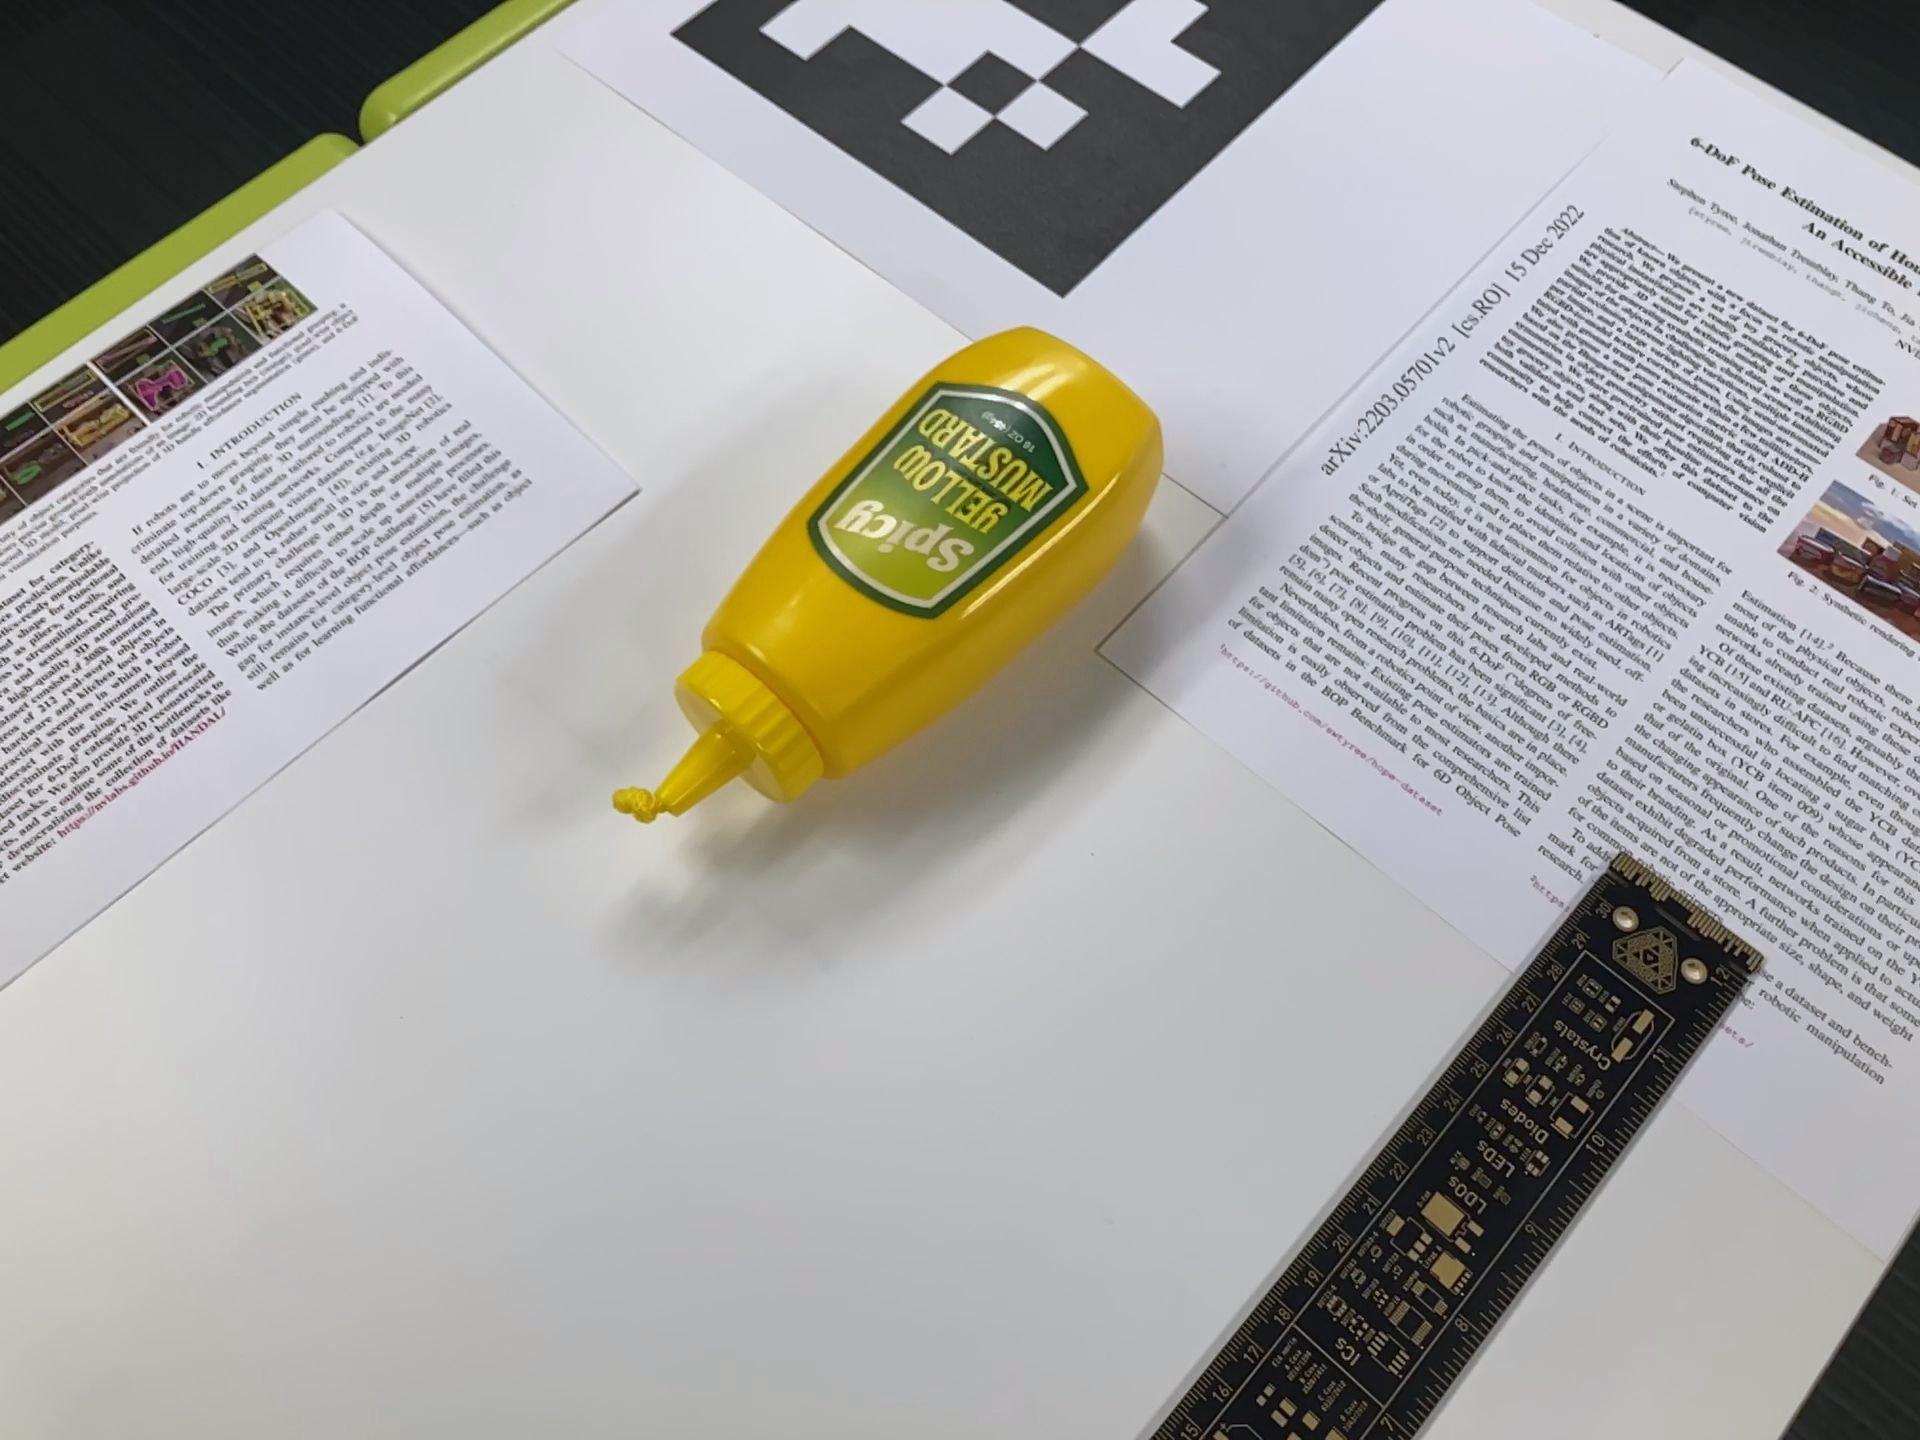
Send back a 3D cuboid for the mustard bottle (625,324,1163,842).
[{"bbox_3d":[-0.019,-0.027,0.380,0.065,0.049,0.160,38,70,18],"label":"mustard bottle"}]
